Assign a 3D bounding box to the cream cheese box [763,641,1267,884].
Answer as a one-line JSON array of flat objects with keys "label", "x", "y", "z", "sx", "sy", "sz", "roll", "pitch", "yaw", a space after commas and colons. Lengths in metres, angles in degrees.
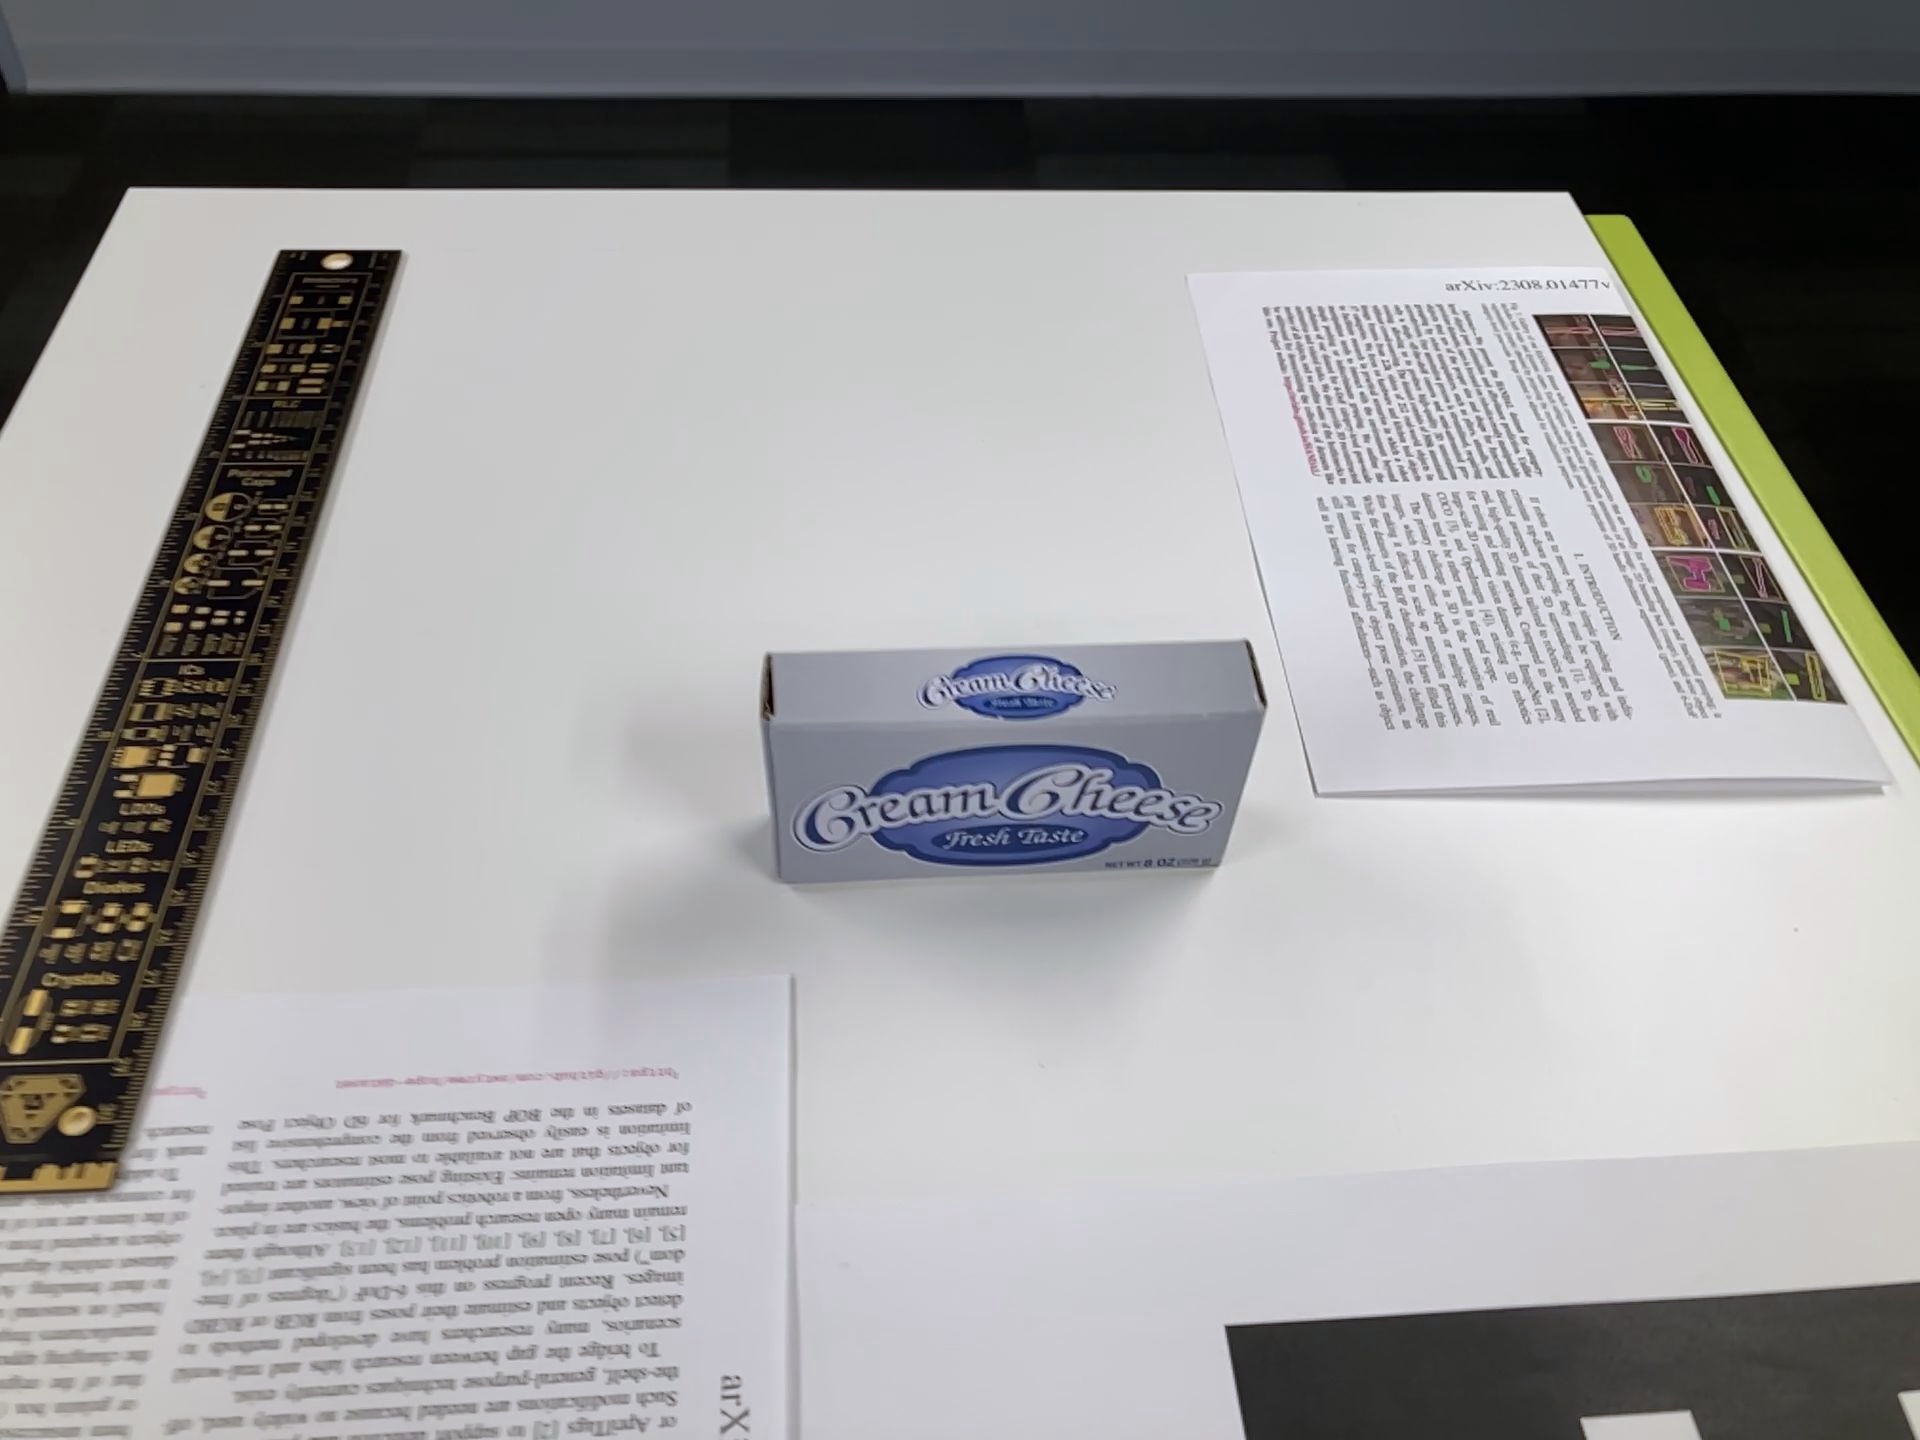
[{"label": "cream cheese box", "x": 0.010, "y": 0.010, "z": 0.347, "sx": 0.104, "sy": 0.053, "sz": 0.024, "roll": -2, "pitch": 46, "yaw": -5}]
